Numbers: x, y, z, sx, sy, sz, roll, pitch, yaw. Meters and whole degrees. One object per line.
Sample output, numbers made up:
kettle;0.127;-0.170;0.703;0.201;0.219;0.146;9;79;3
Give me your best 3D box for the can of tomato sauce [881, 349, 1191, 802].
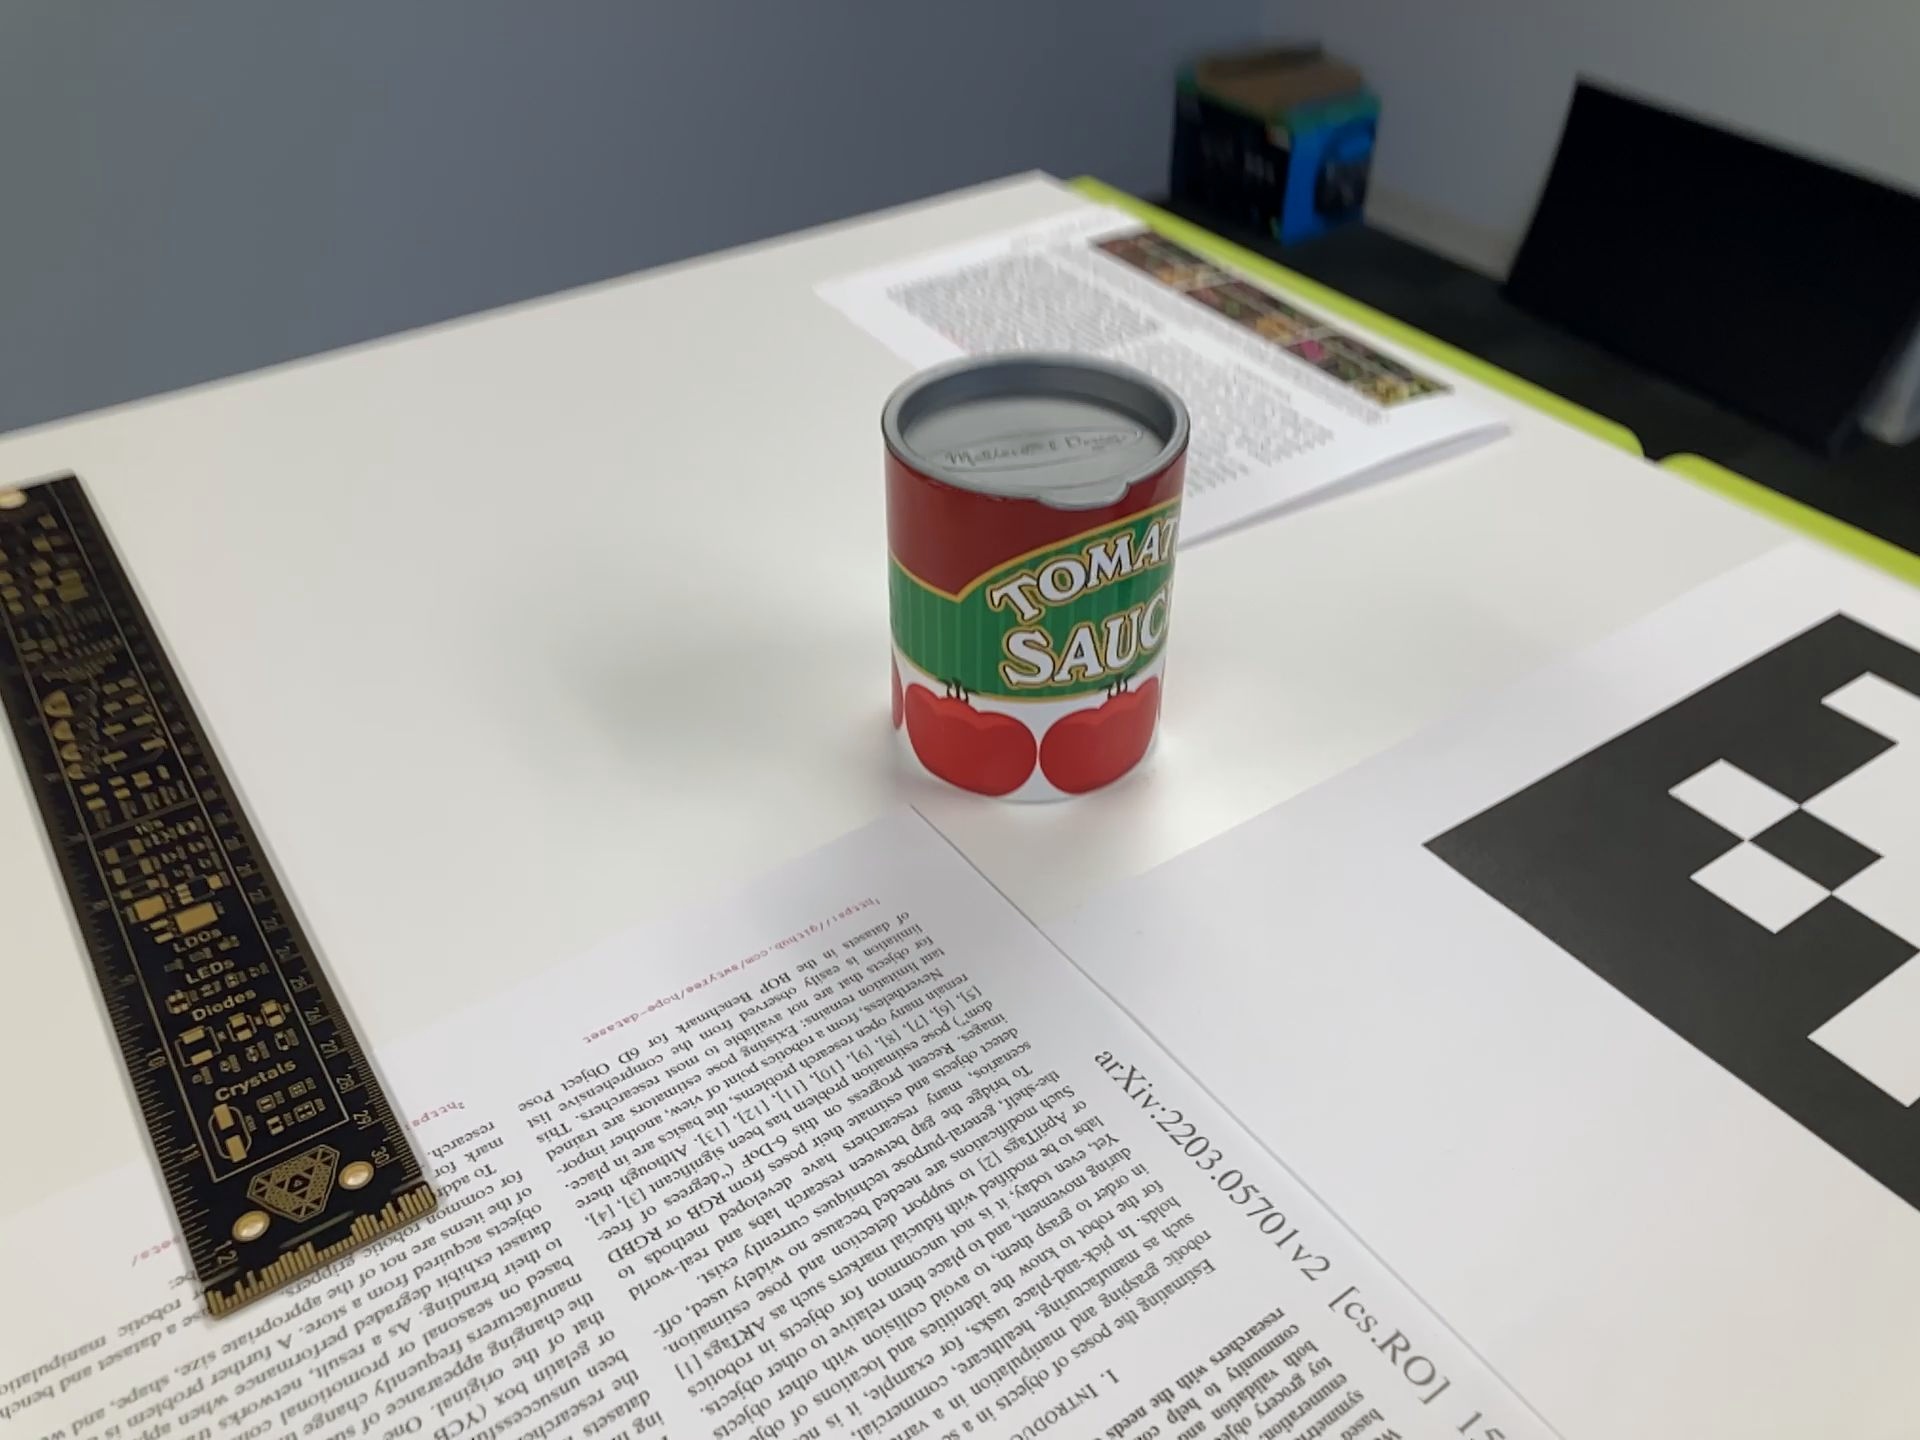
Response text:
can of tomato sauce;0.017;-0.032;0.364;0.071;0.083;0.071;0;38;0
